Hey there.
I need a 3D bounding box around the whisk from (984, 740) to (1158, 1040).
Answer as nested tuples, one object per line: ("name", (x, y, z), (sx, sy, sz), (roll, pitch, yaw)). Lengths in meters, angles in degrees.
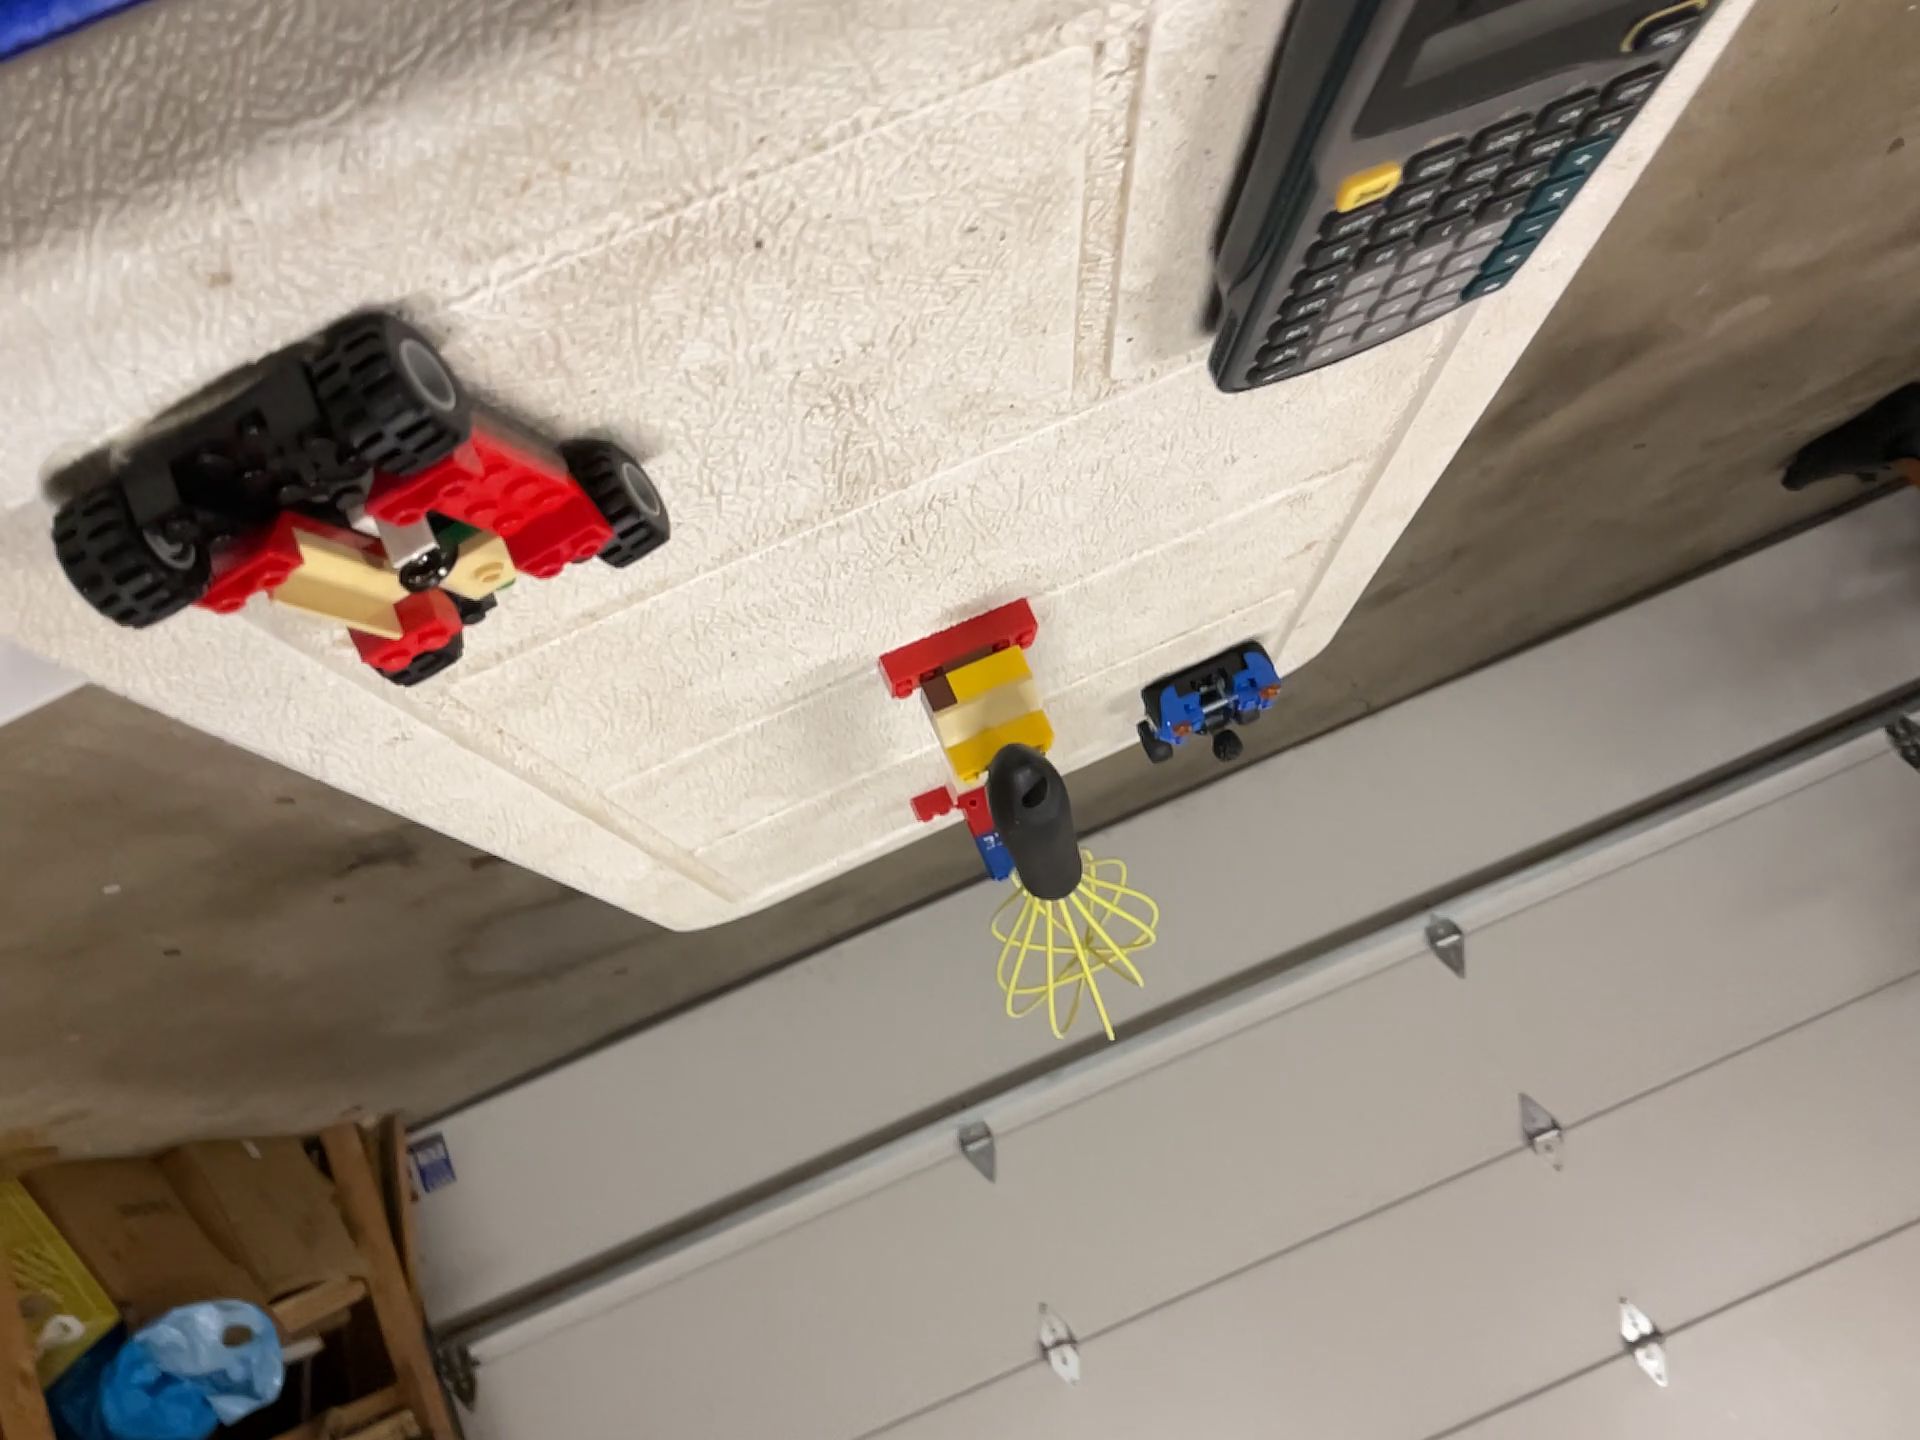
("whisk", (0.034, 0.061, 0.583), (0.311, 0.067, 0.080), (68, 42, -69))
